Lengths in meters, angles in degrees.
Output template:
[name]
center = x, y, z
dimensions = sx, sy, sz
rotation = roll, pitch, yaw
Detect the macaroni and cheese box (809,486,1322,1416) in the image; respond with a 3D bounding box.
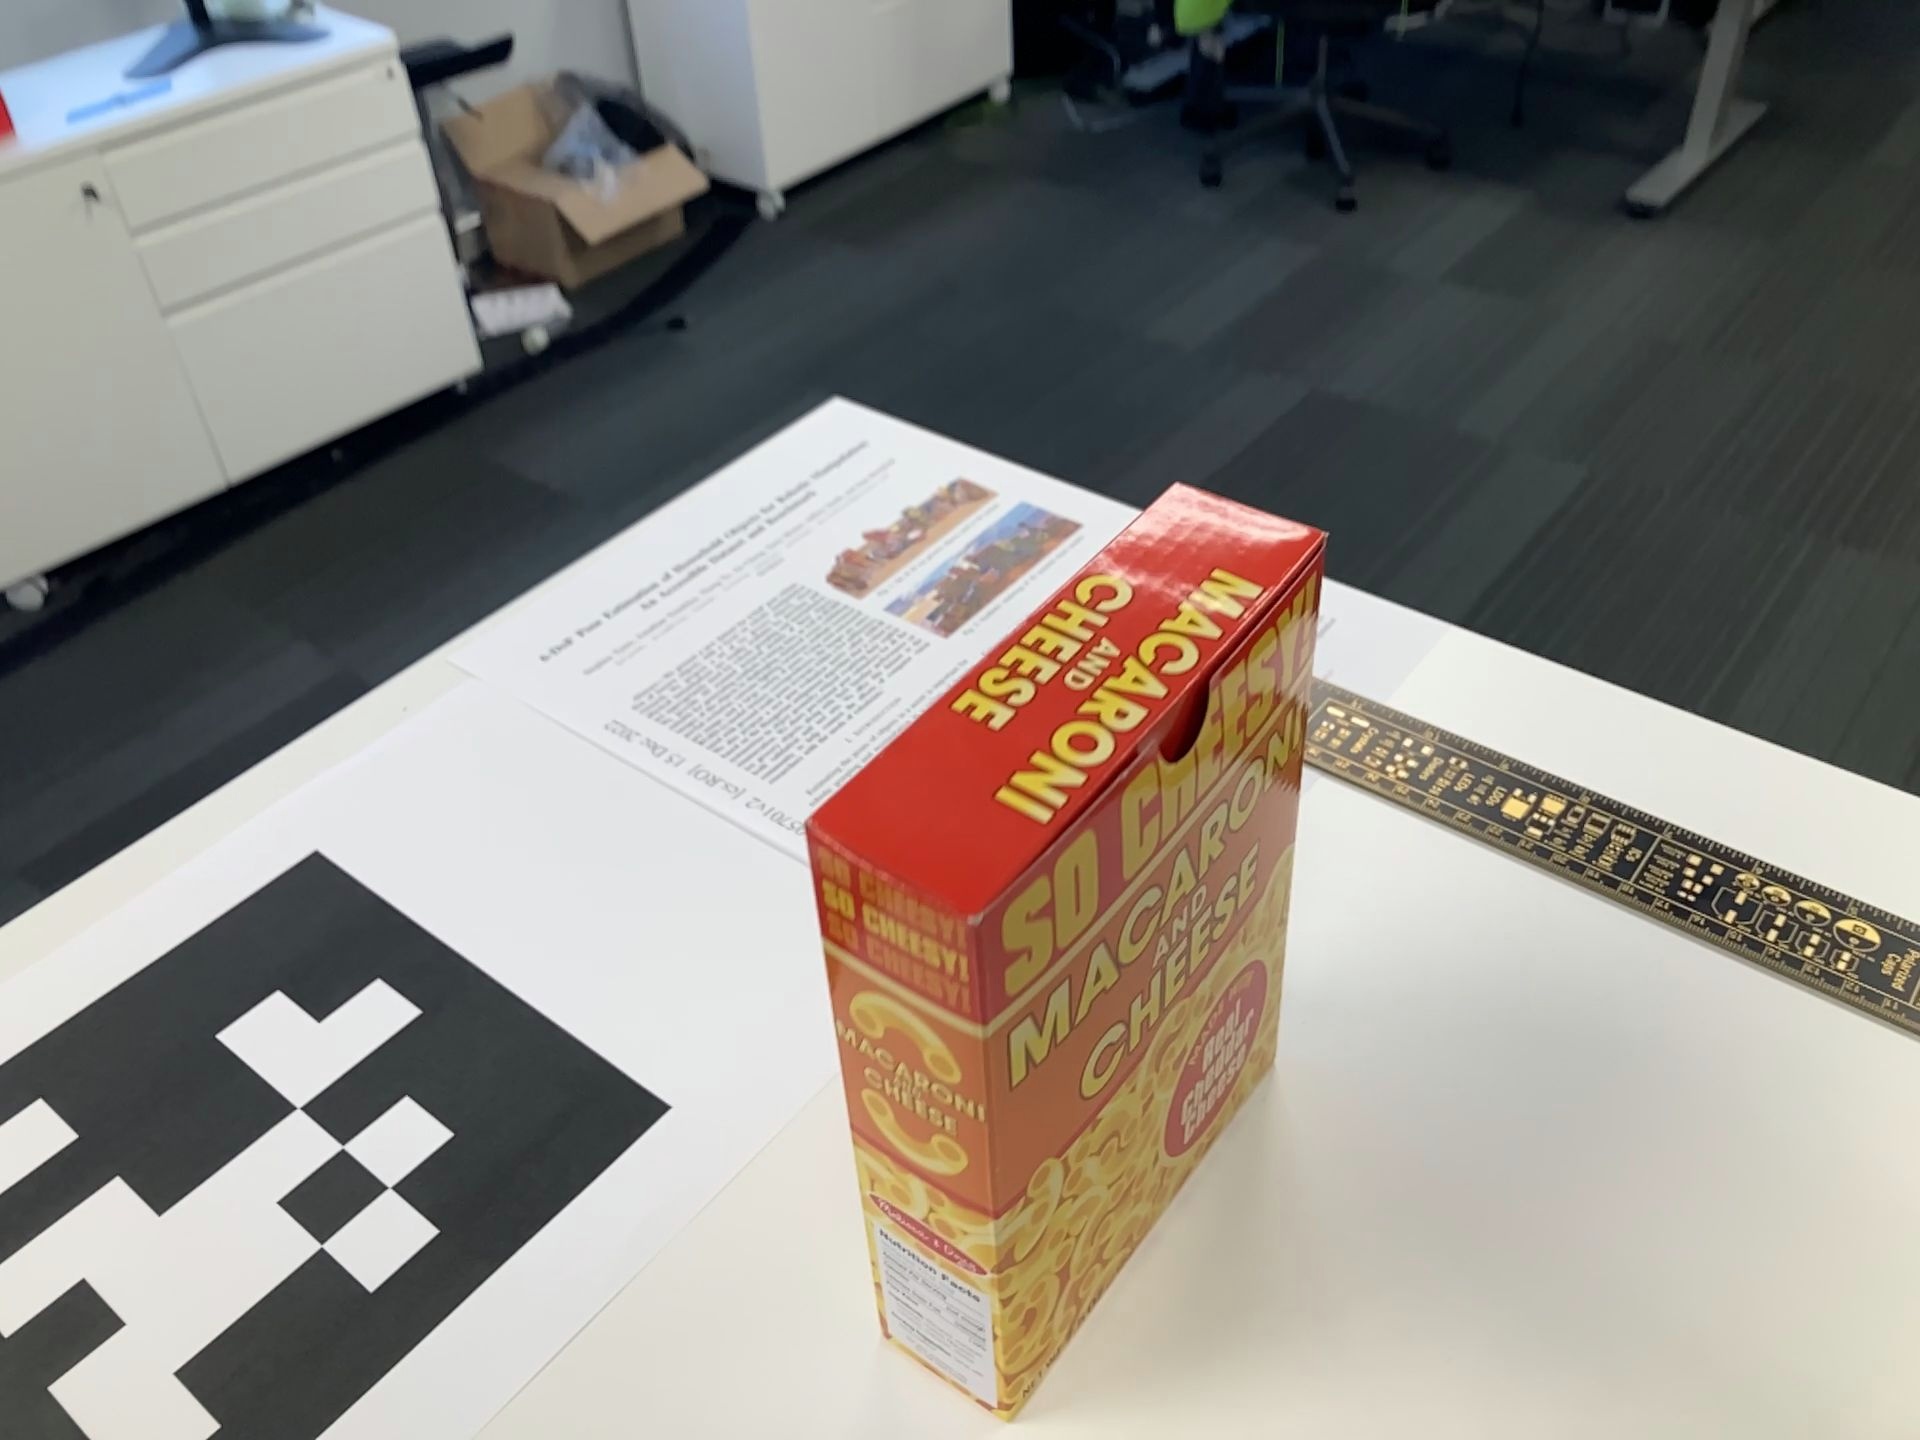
[macaroni and cheese box]
center = 0.029, 0.052, 0.344
dimensions = 0.040, 0.166, 0.124
rotation = 23, 47, 28
